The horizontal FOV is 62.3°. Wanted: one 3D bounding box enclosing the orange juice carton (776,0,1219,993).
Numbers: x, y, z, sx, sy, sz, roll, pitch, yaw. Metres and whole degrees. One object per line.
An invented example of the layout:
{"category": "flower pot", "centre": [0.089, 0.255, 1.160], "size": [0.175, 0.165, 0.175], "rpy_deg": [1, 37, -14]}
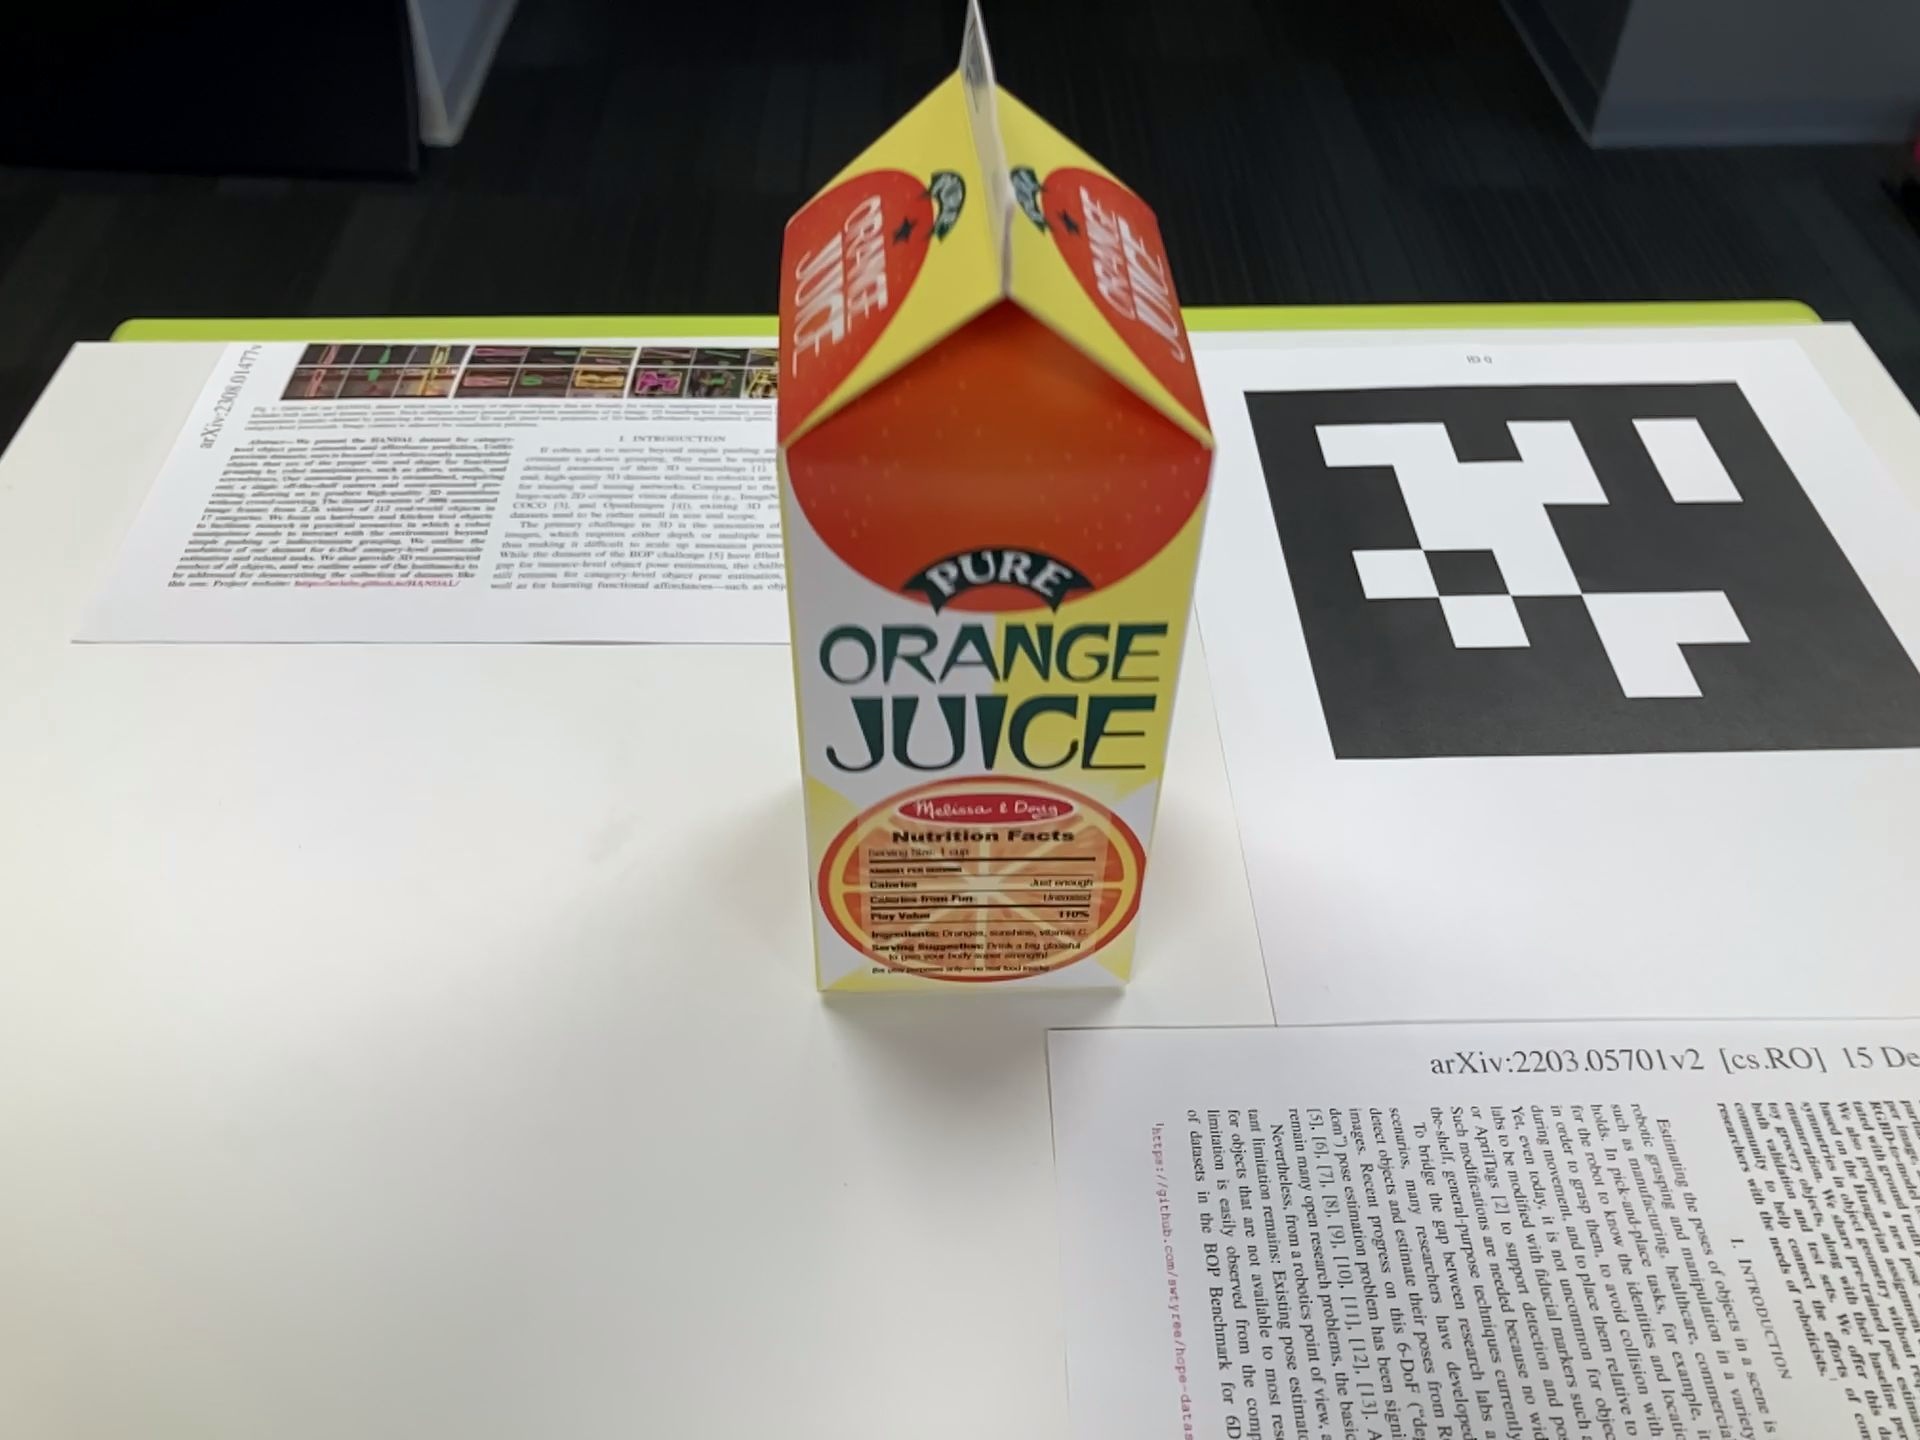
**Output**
{"category": "orange juice carton", "centre": [0.003, -0.031, 0.311], "size": [0.073, 0.192, 0.072], "rpy_deg": [-1, 46, -2]}
